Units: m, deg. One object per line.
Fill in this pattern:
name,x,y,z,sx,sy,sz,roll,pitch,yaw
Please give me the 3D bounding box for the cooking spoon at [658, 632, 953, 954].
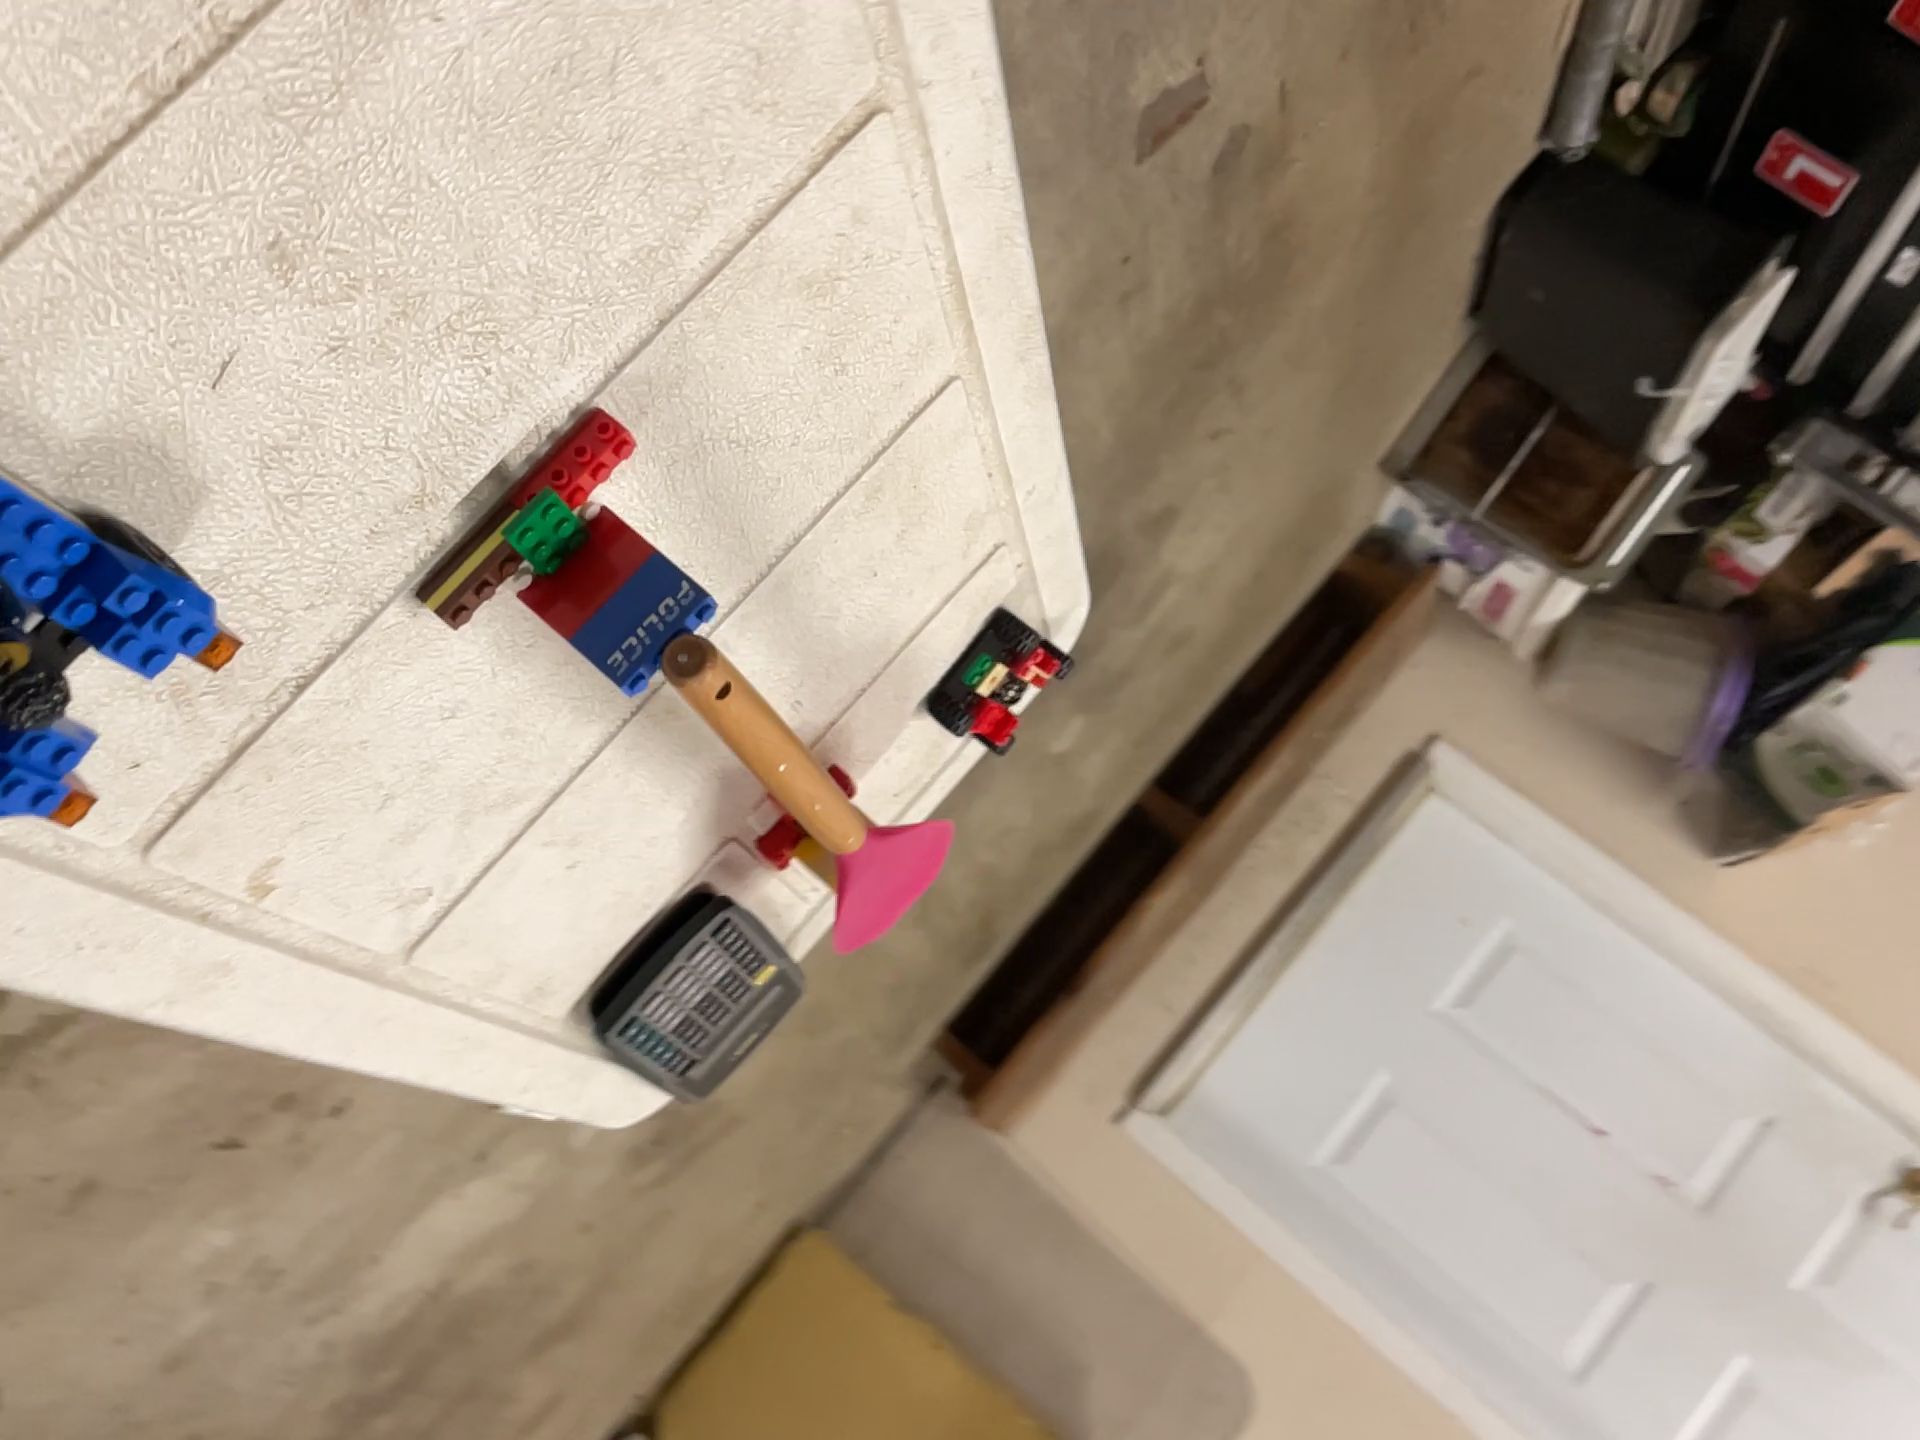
cooking spoon,-0.044,0.031,0.531,0.069,0.017,0.318,-48,163,-8
